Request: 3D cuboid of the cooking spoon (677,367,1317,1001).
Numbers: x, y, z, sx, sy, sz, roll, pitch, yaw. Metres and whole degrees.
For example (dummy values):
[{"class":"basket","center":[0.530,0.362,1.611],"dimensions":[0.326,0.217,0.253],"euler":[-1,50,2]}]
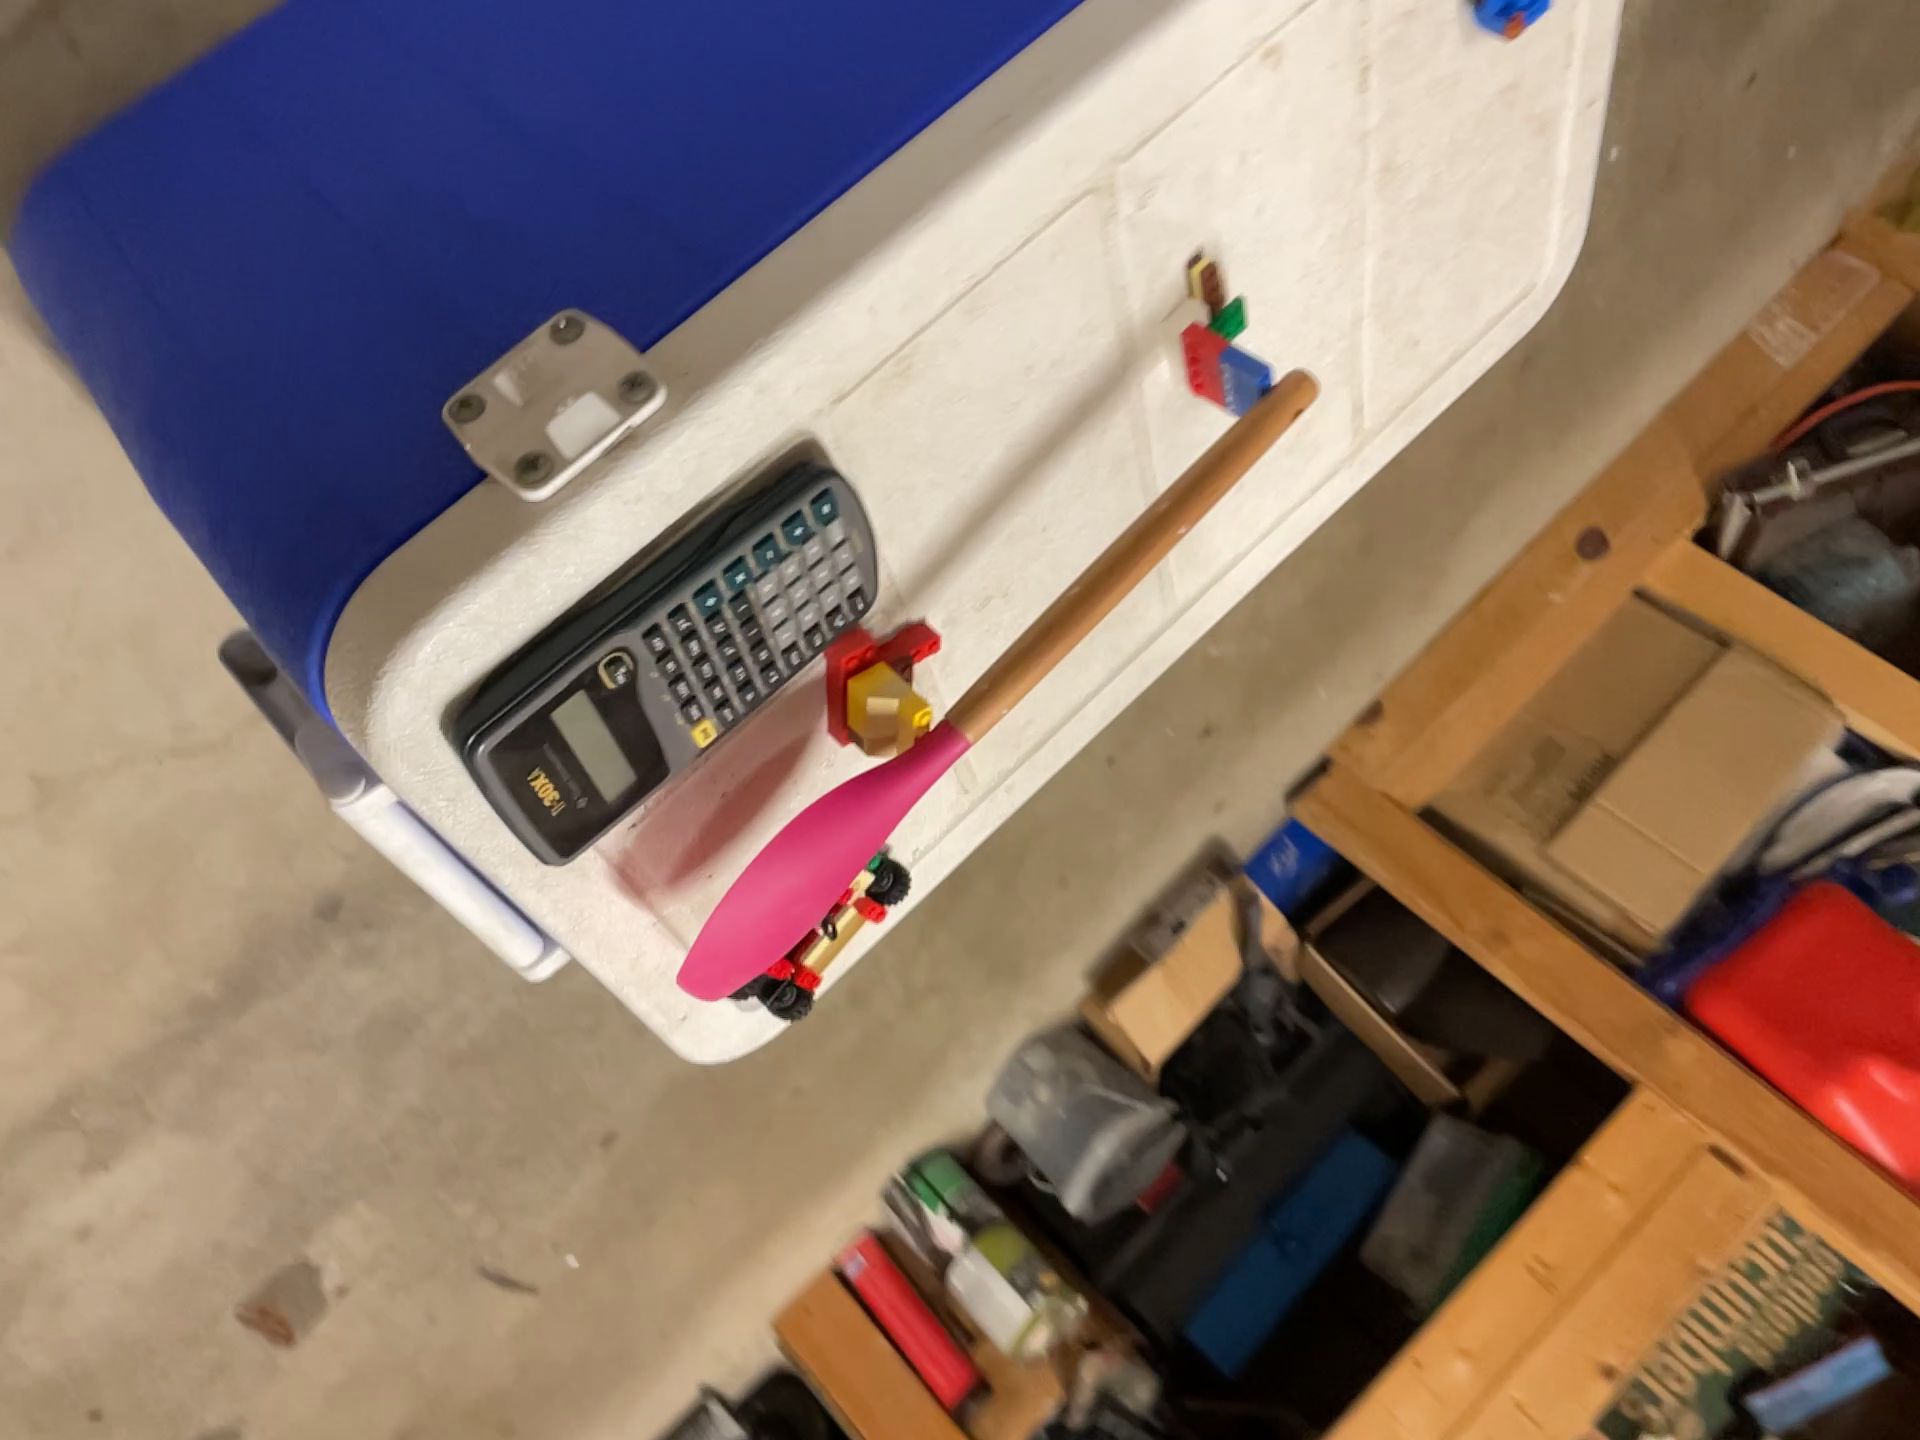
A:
[{"class":"cooking spoon","center":[0.017,-0.015,0.581],"dimensions":[0.319,0.017,0.068],"euler":[-46,154,-5]}]
